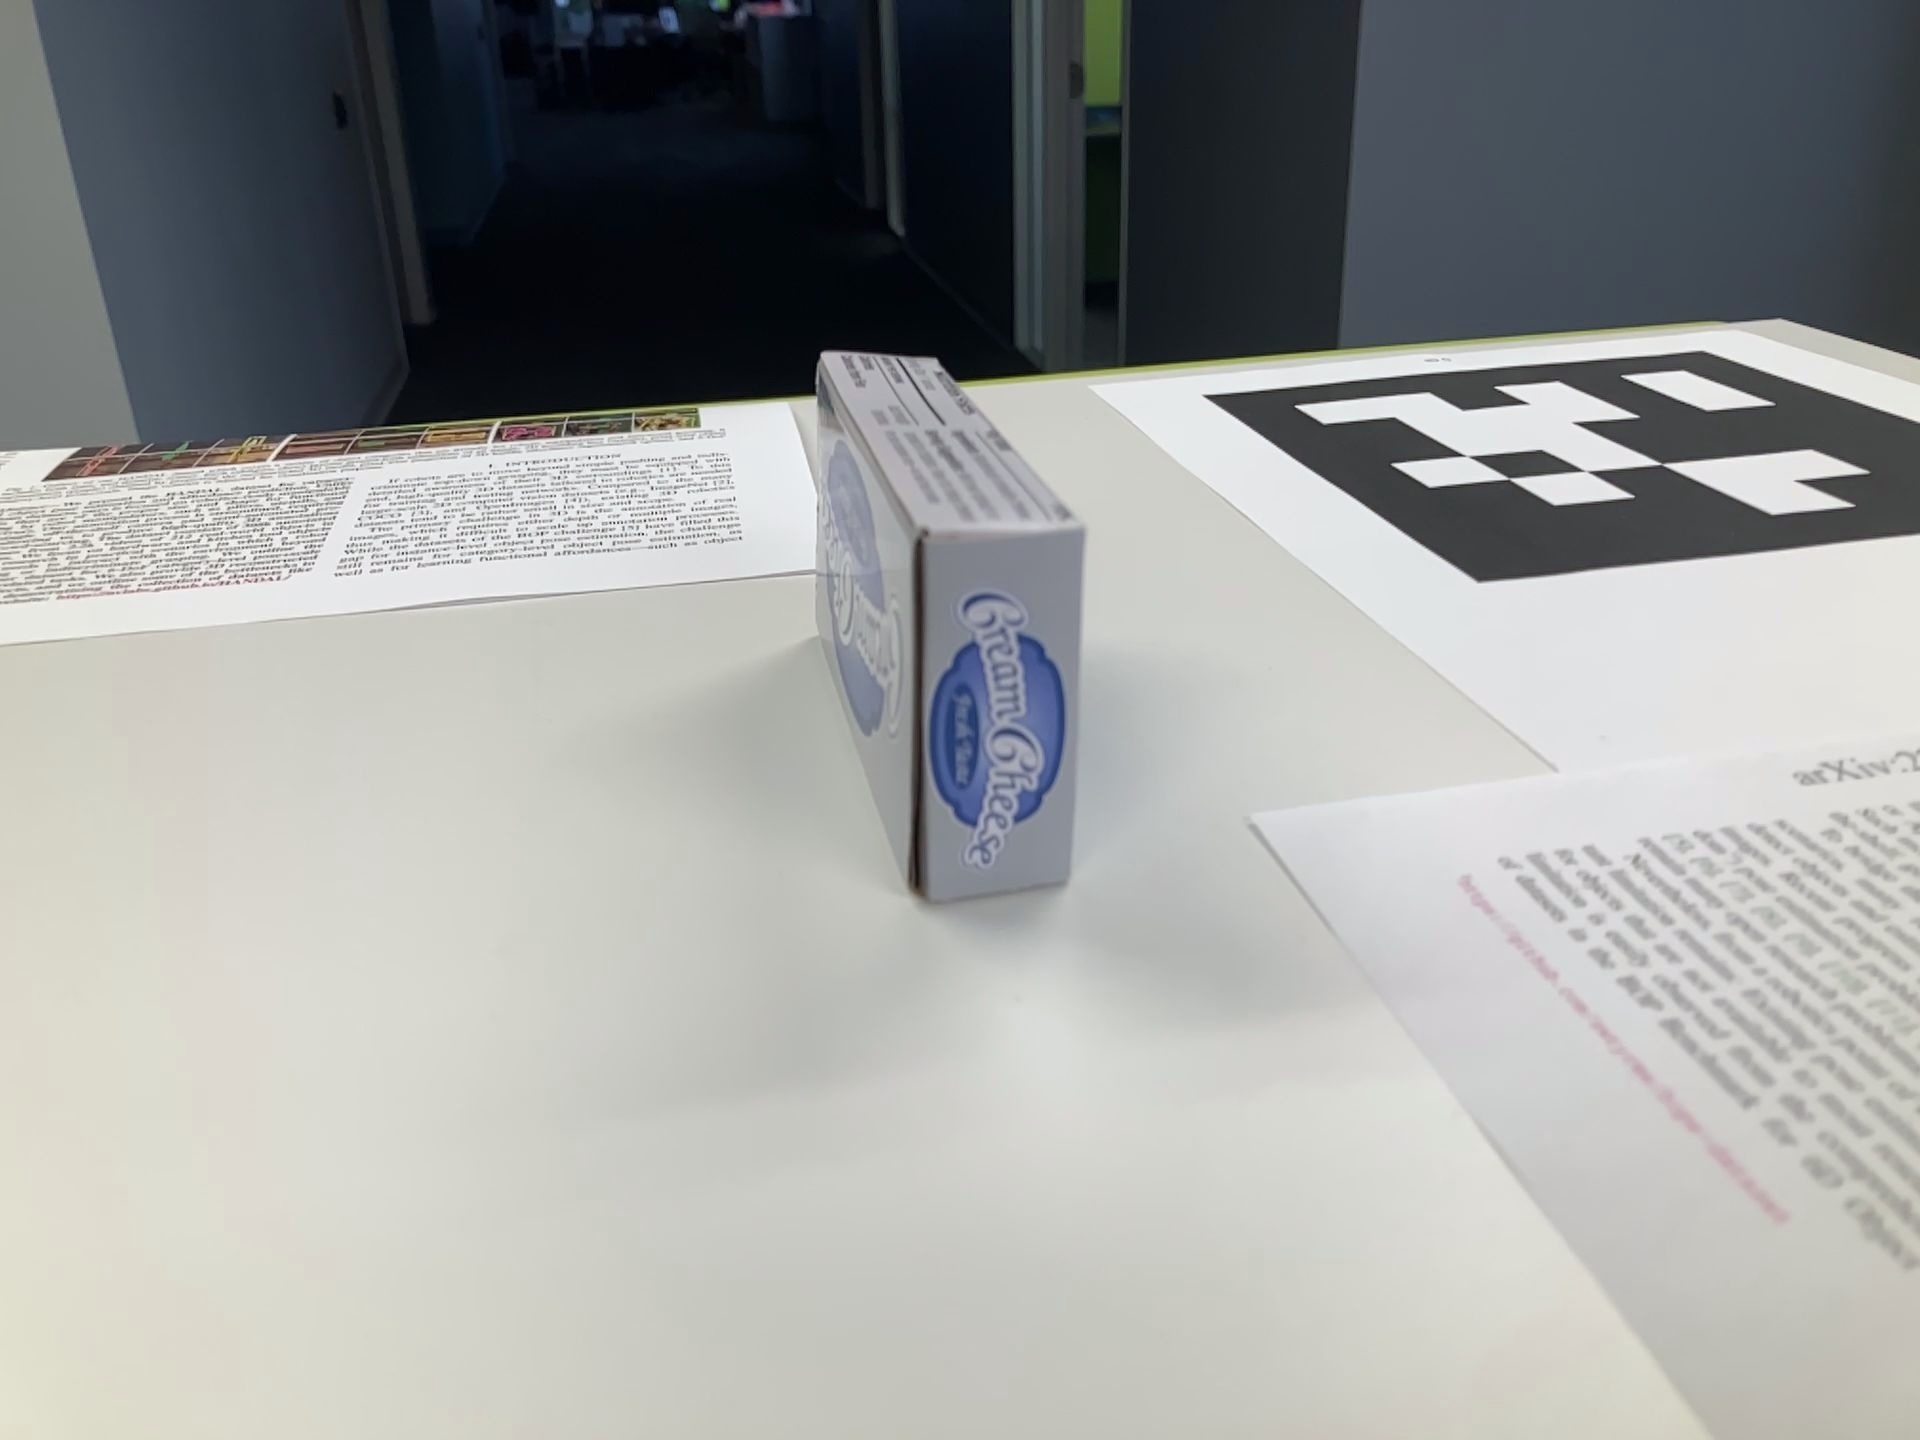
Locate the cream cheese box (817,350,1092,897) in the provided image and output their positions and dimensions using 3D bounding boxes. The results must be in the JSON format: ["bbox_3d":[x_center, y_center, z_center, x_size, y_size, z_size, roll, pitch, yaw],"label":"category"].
[{"bbox_3d":[-0.005,-0.021,0.249,0.024,0.053,0.104,-5,25,-11],"label":"cream cheese box"}]
